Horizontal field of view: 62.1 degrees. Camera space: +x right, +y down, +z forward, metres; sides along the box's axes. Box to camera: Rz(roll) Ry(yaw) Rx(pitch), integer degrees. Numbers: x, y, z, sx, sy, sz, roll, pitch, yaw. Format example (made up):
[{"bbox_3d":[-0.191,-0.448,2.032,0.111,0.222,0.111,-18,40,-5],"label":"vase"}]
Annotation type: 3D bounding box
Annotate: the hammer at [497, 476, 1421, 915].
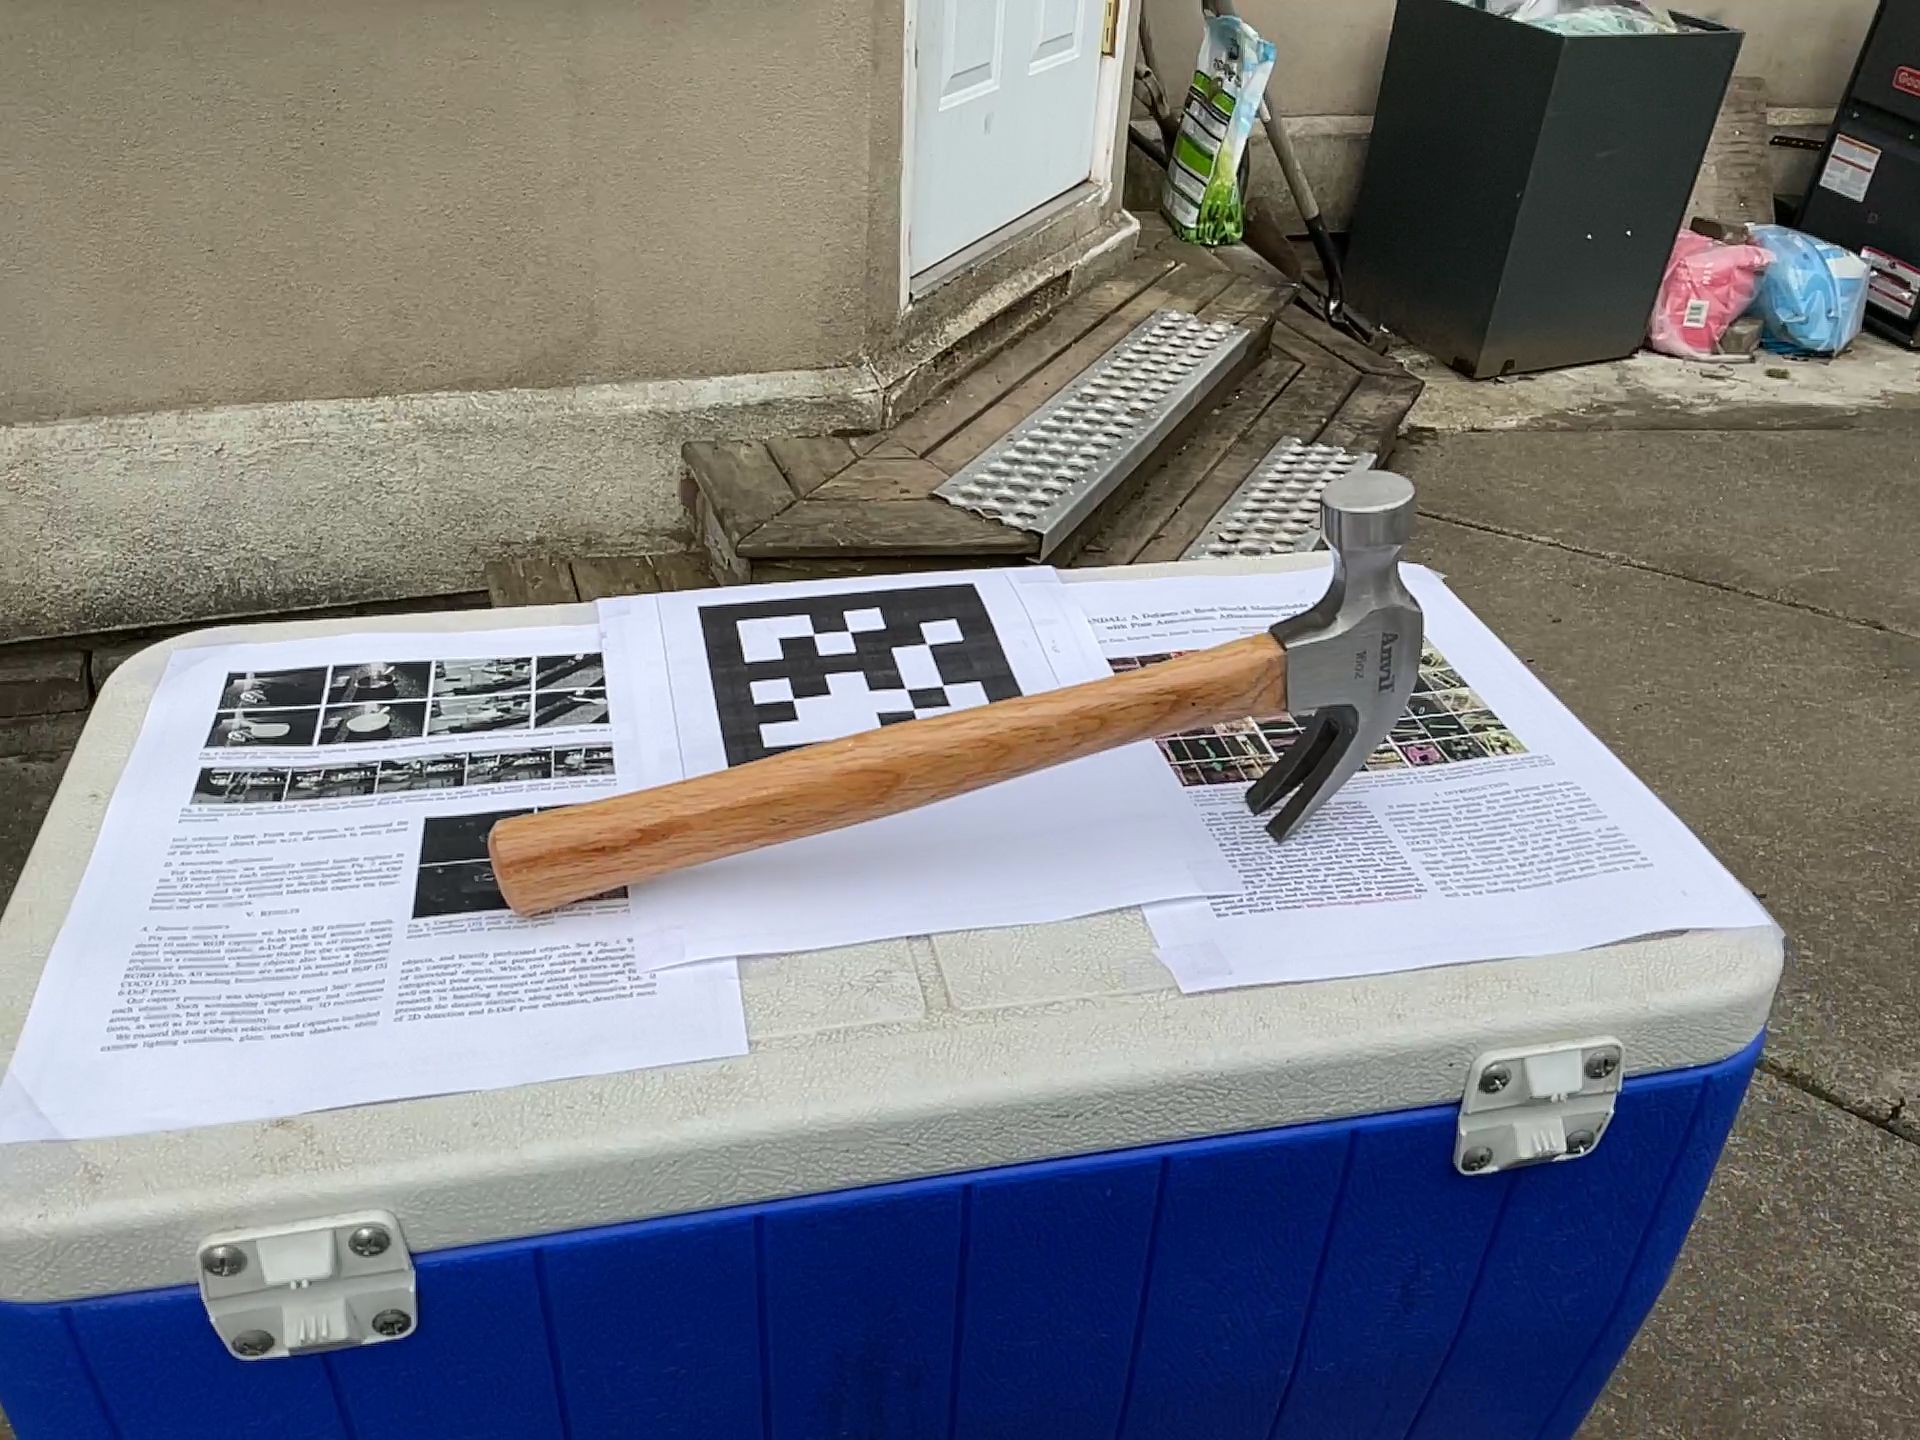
[{"bbox_3d":[0.005,0.013,0.567,0.331,0.130,0.031,-15,33,-6],"label":"hammer"}]
